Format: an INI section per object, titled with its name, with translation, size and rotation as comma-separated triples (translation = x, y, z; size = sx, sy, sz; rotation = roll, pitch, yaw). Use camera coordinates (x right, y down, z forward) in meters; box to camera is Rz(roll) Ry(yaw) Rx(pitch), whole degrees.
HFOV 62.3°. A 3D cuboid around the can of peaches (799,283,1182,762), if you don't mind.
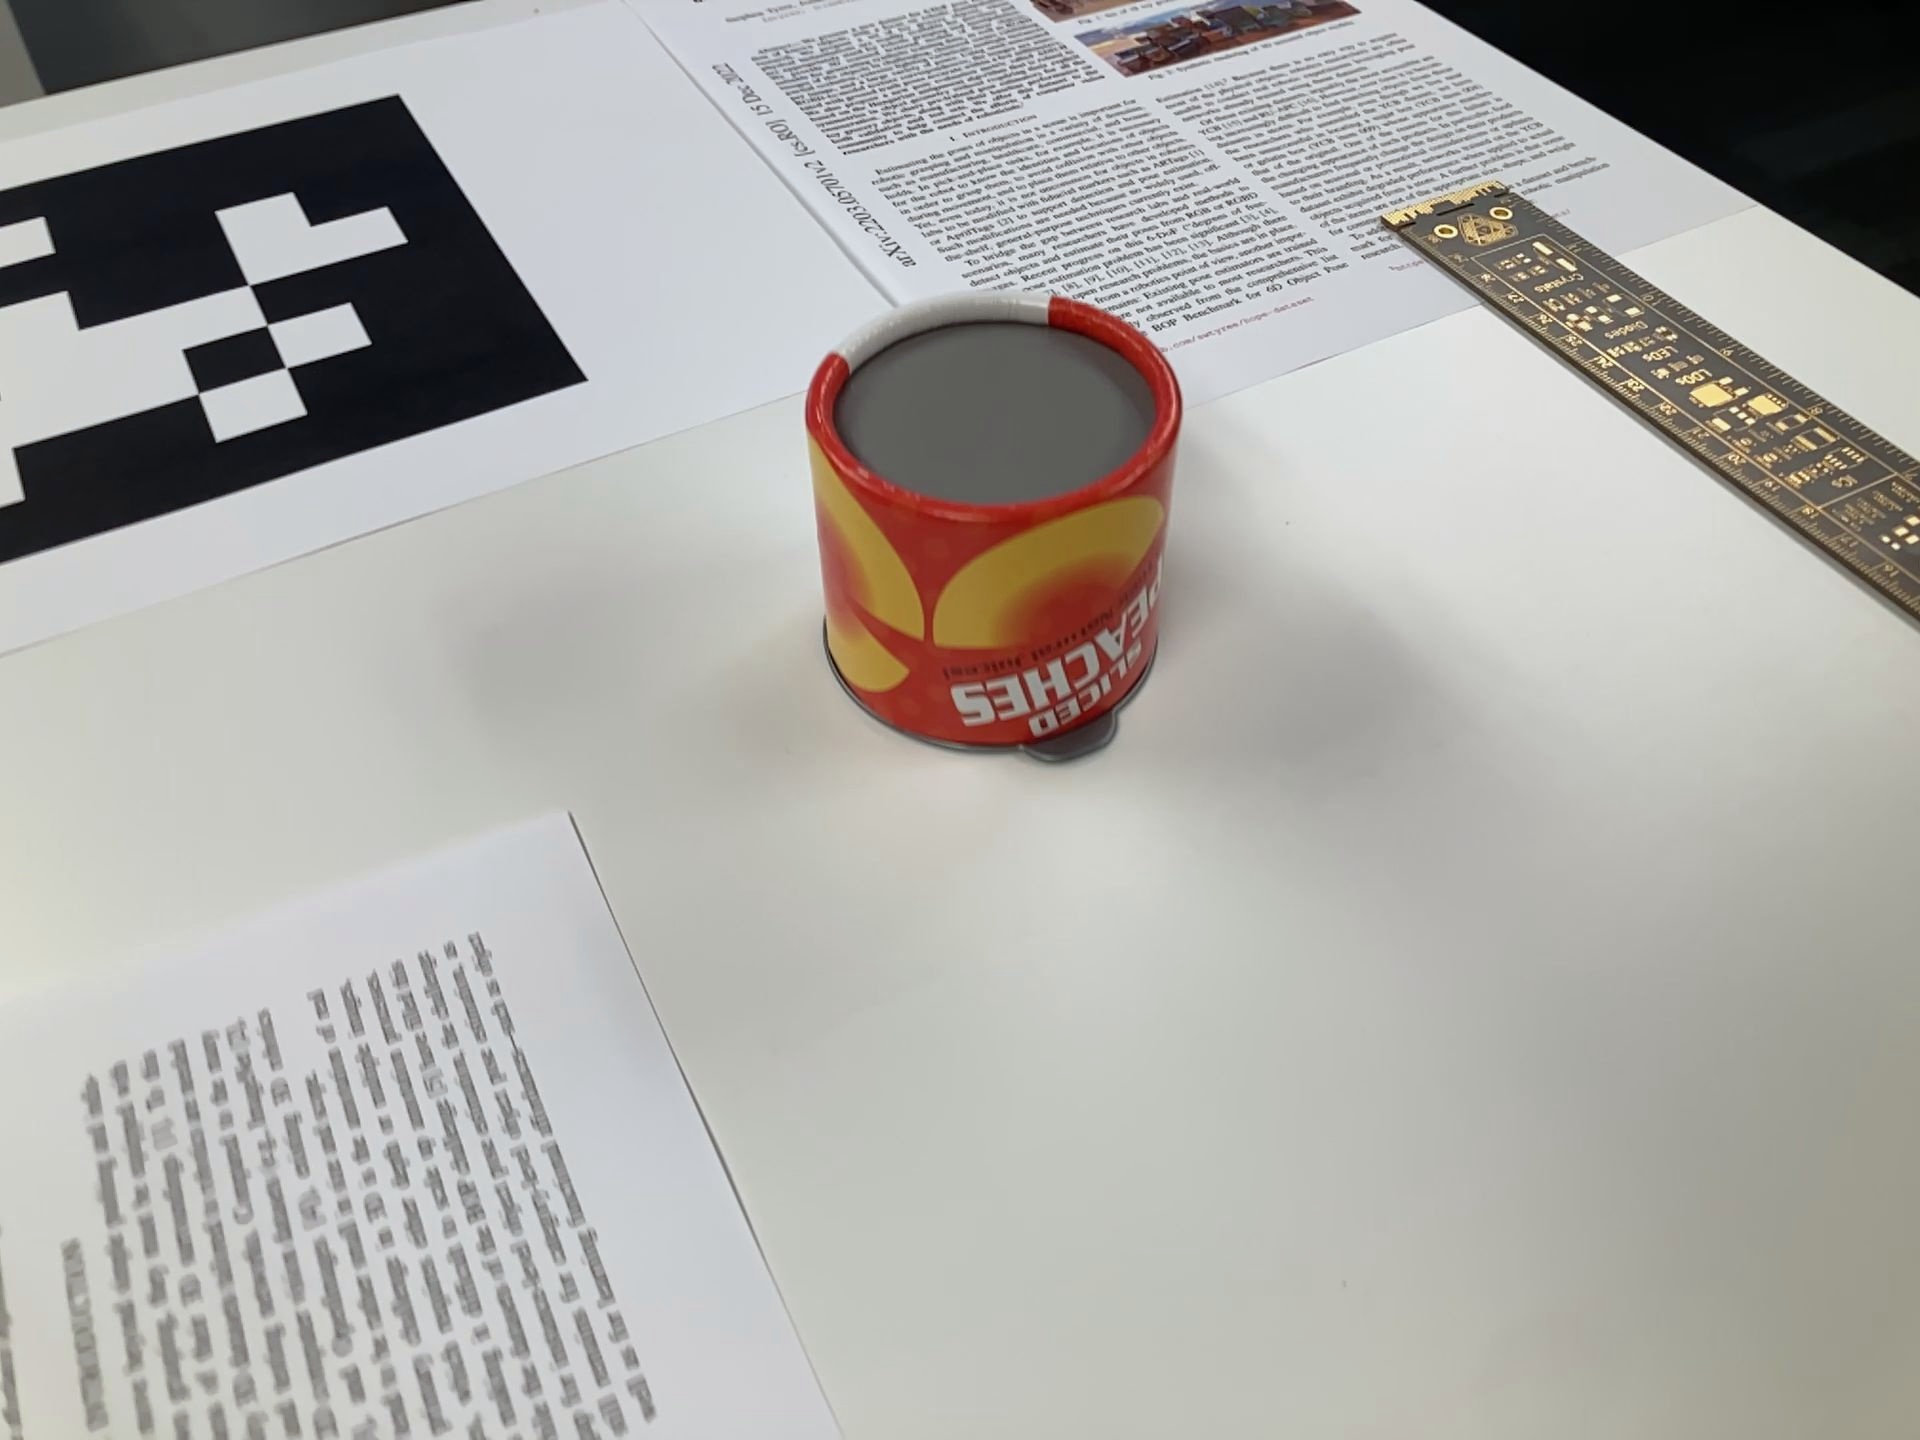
[can of peaches]
translation = 0.007, -0.036, 0.288
size = 0.071, 0.058, 0.071
rotation = 0, 47, 0
